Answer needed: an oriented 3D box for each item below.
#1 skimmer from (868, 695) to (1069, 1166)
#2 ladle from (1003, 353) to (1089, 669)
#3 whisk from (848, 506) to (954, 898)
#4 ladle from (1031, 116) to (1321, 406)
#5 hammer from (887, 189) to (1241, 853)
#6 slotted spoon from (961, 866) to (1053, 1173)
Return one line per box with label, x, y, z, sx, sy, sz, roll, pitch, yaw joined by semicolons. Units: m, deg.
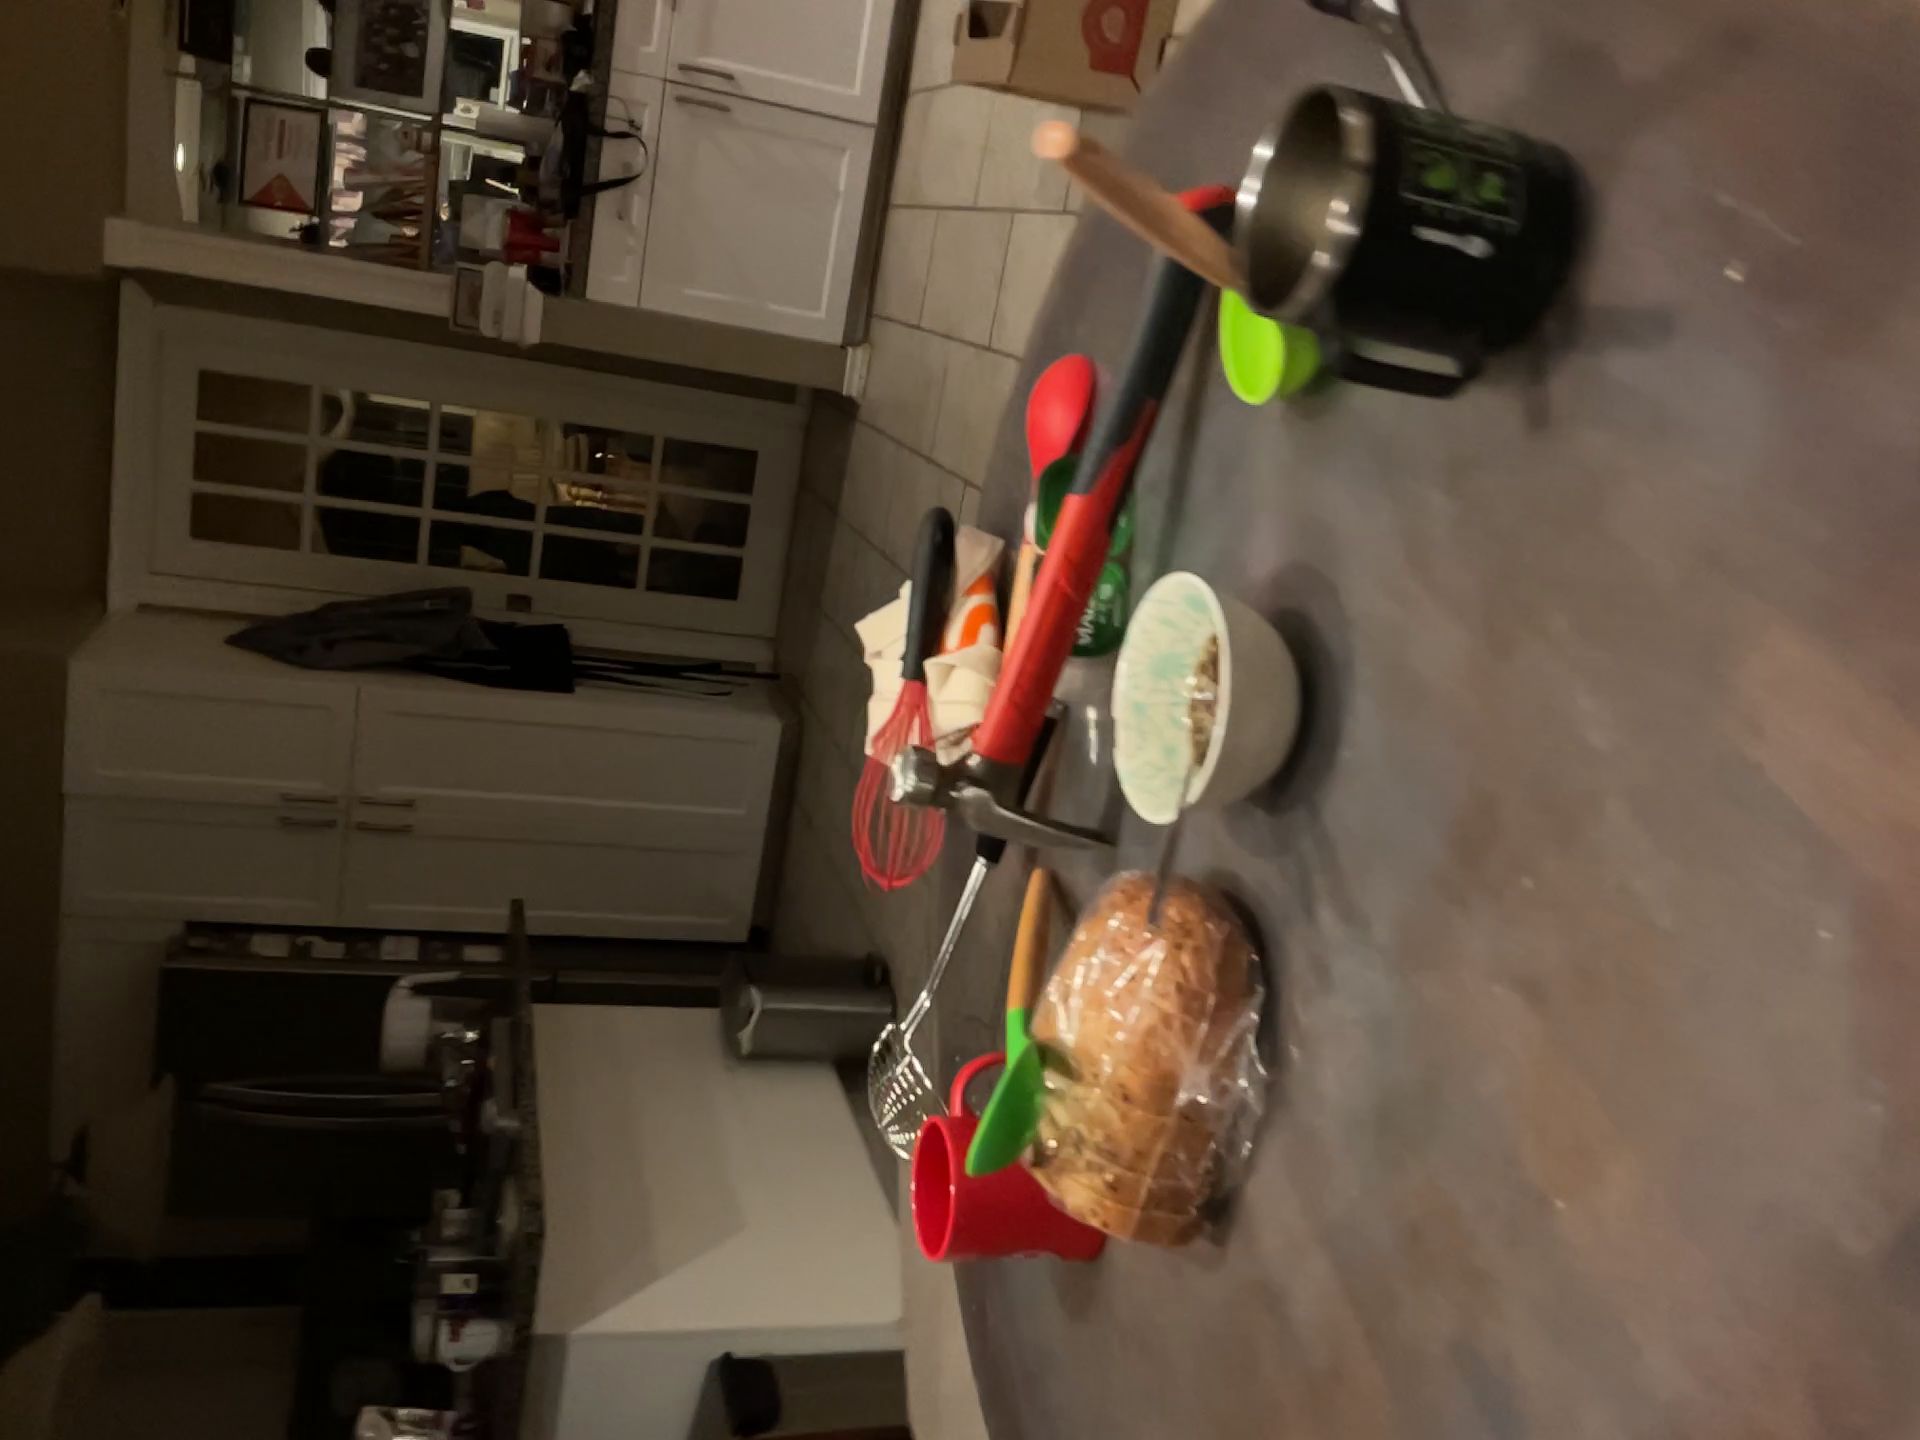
skimmer;0.021;0.154;1.105;0.127;0.090;0.363;45;117;57
ladle;0.048;-0.097;1.105;0.069;0.031;0.315;-137;53;-68
whisk;-0.037;-0.012;1.176;0.073;0.073;0.296;-151;69;-71
ladle;0.091;-0.190;0.658;0.062;0.320;0.078;-8;87;27
hammer;0.089;-0.110;0.912;0.386;0.143;0.038;-69;22;9
slotted spoon;0.037;0.154;0.902;0.314;0.031;0.070;-70;-2;-69
